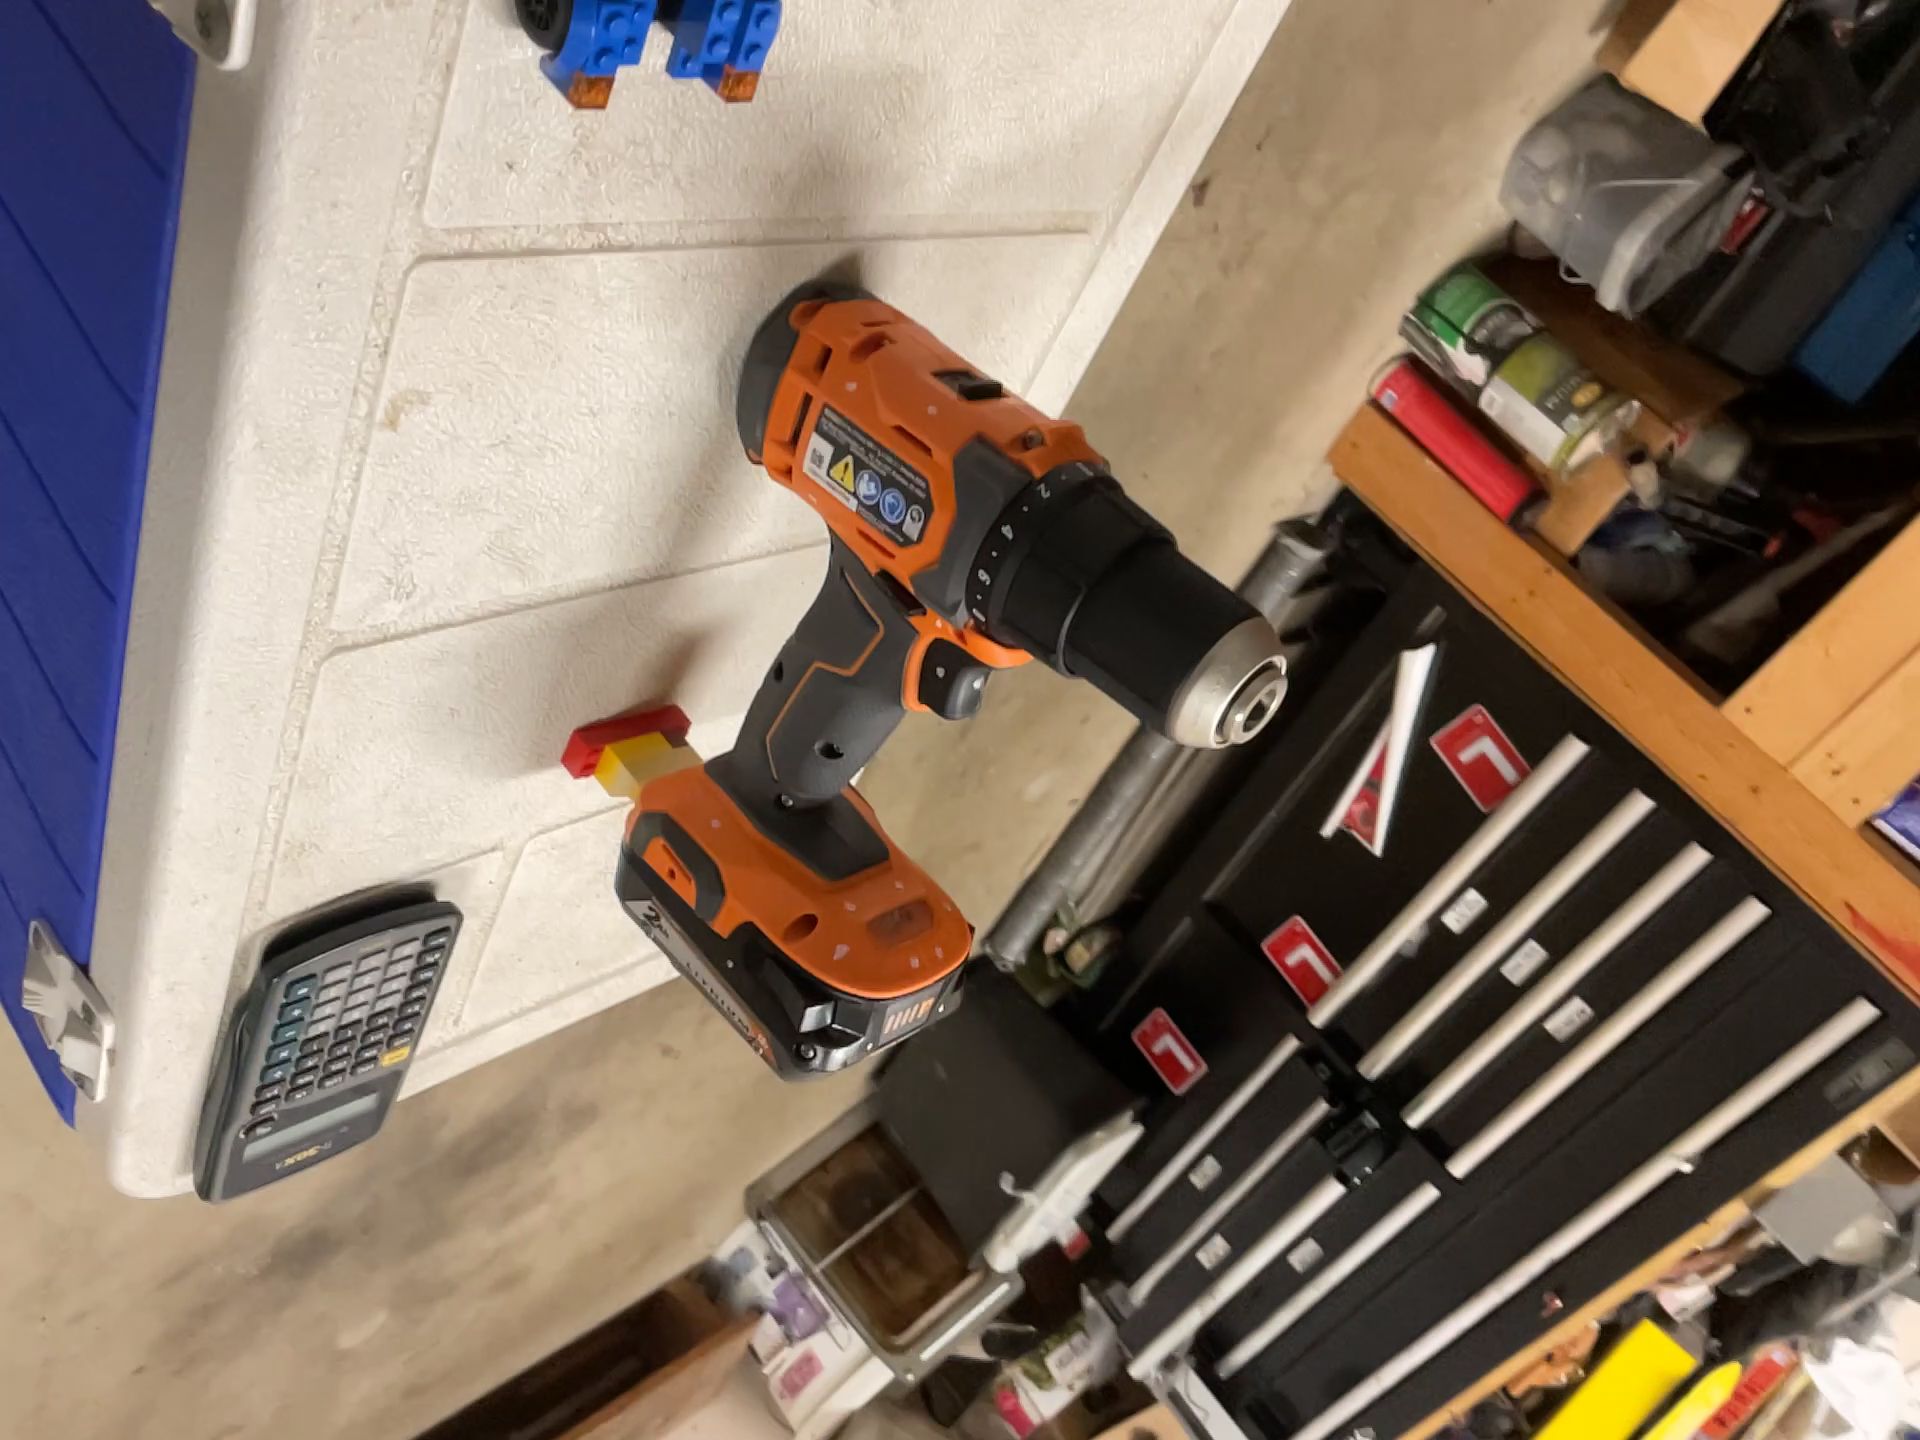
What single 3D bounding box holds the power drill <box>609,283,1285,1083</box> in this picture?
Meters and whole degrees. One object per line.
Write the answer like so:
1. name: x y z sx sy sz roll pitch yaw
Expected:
1. power drill: -0.013 0.007 0.491 0.084 0.185 0.225 -18 139 -48
